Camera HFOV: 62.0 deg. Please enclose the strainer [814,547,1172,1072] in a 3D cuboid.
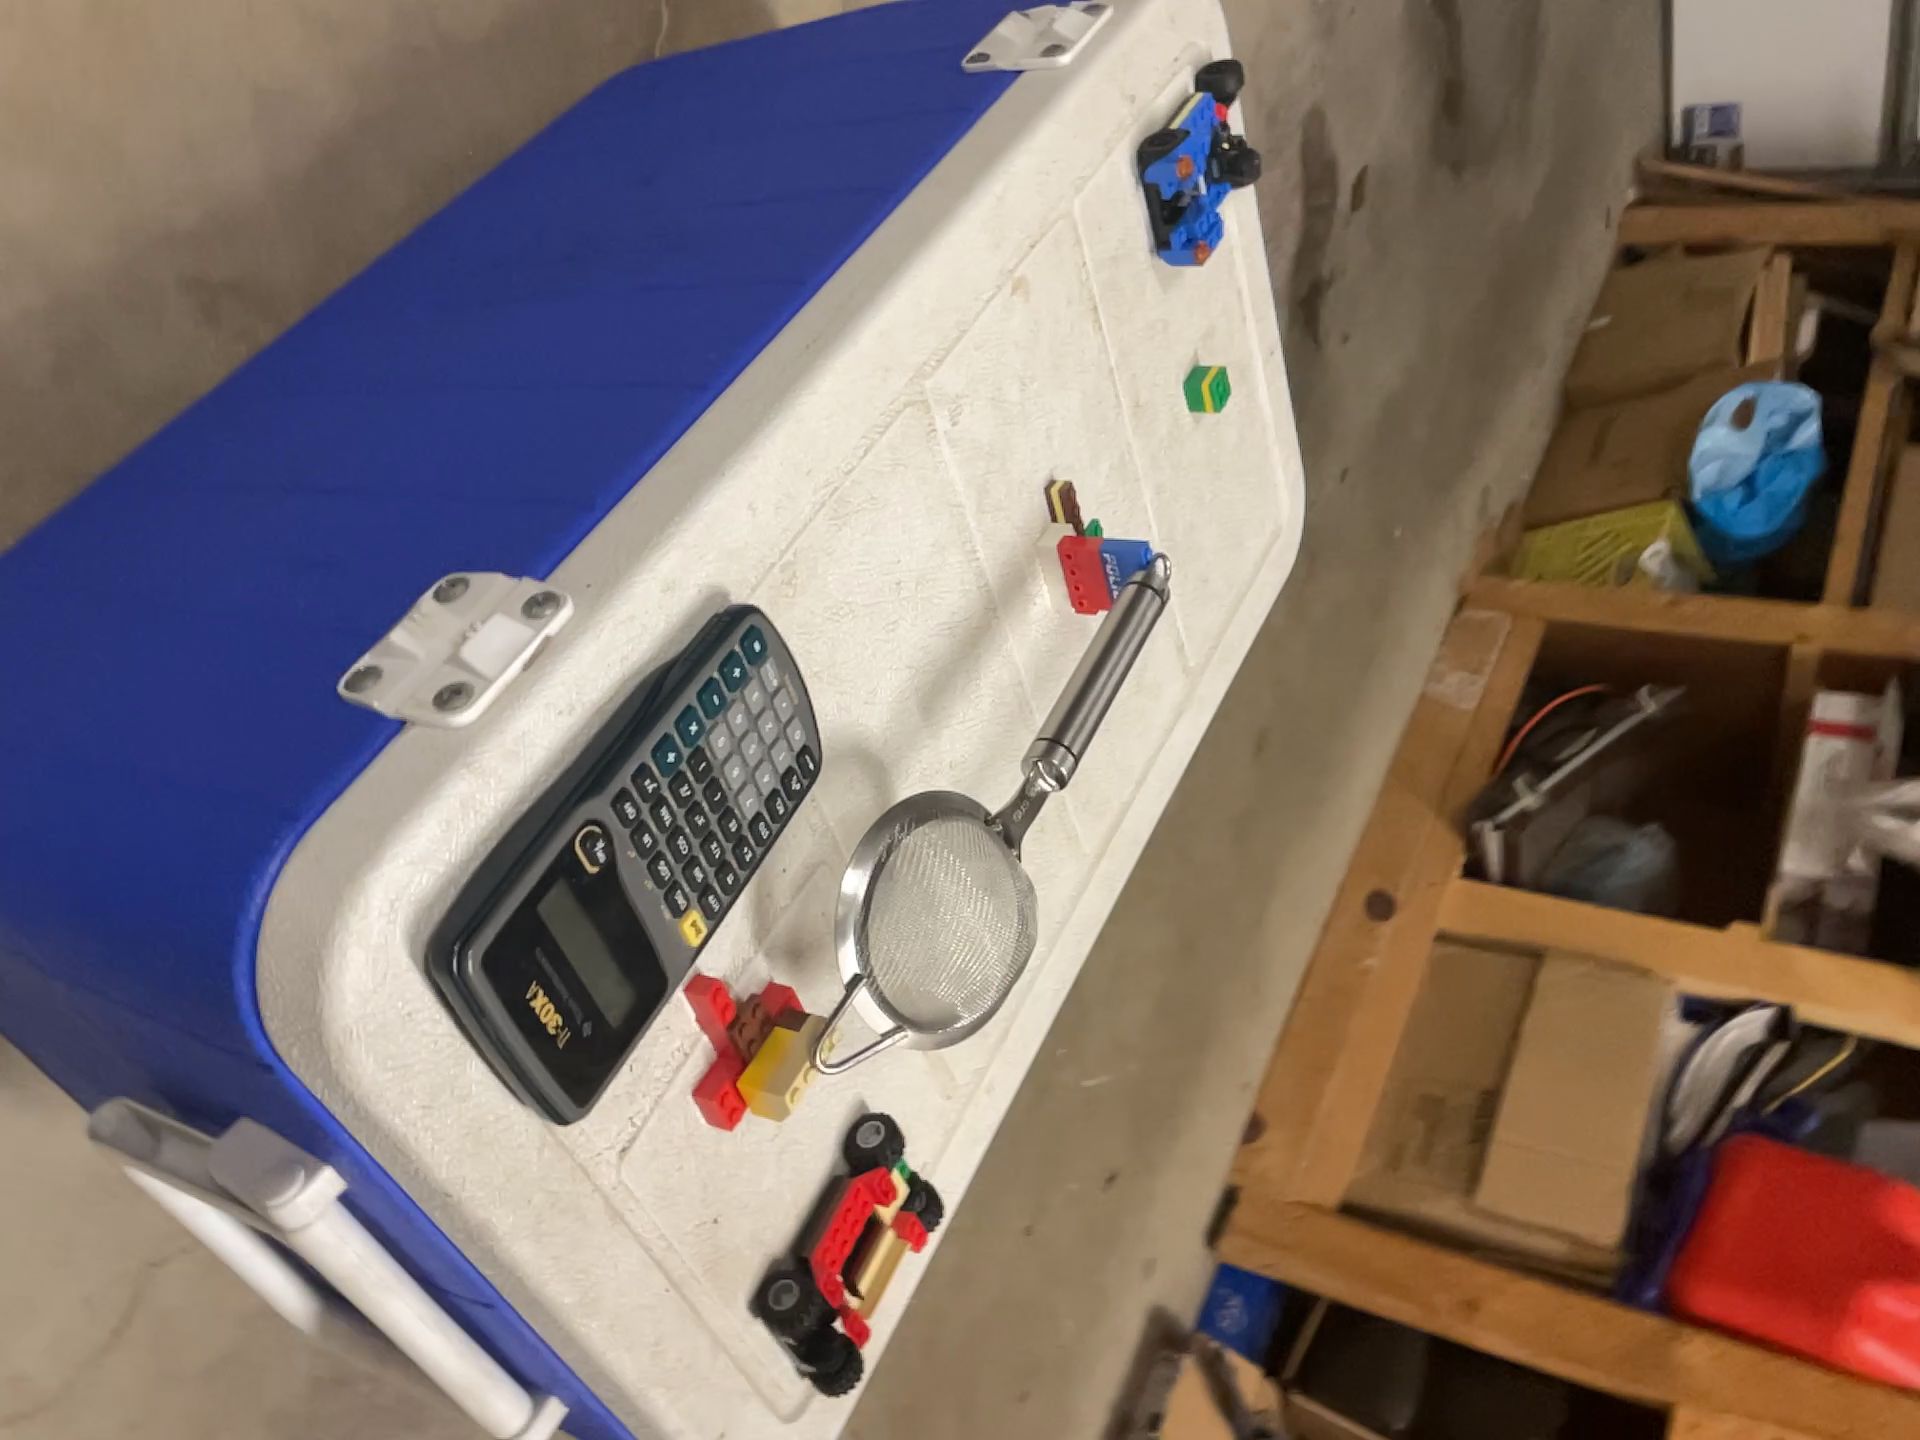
[{"bbox_3d":[0.028,0.019,0.564,0.086,0.050,0.259,55,47,-27],"label":"strainer"}]
